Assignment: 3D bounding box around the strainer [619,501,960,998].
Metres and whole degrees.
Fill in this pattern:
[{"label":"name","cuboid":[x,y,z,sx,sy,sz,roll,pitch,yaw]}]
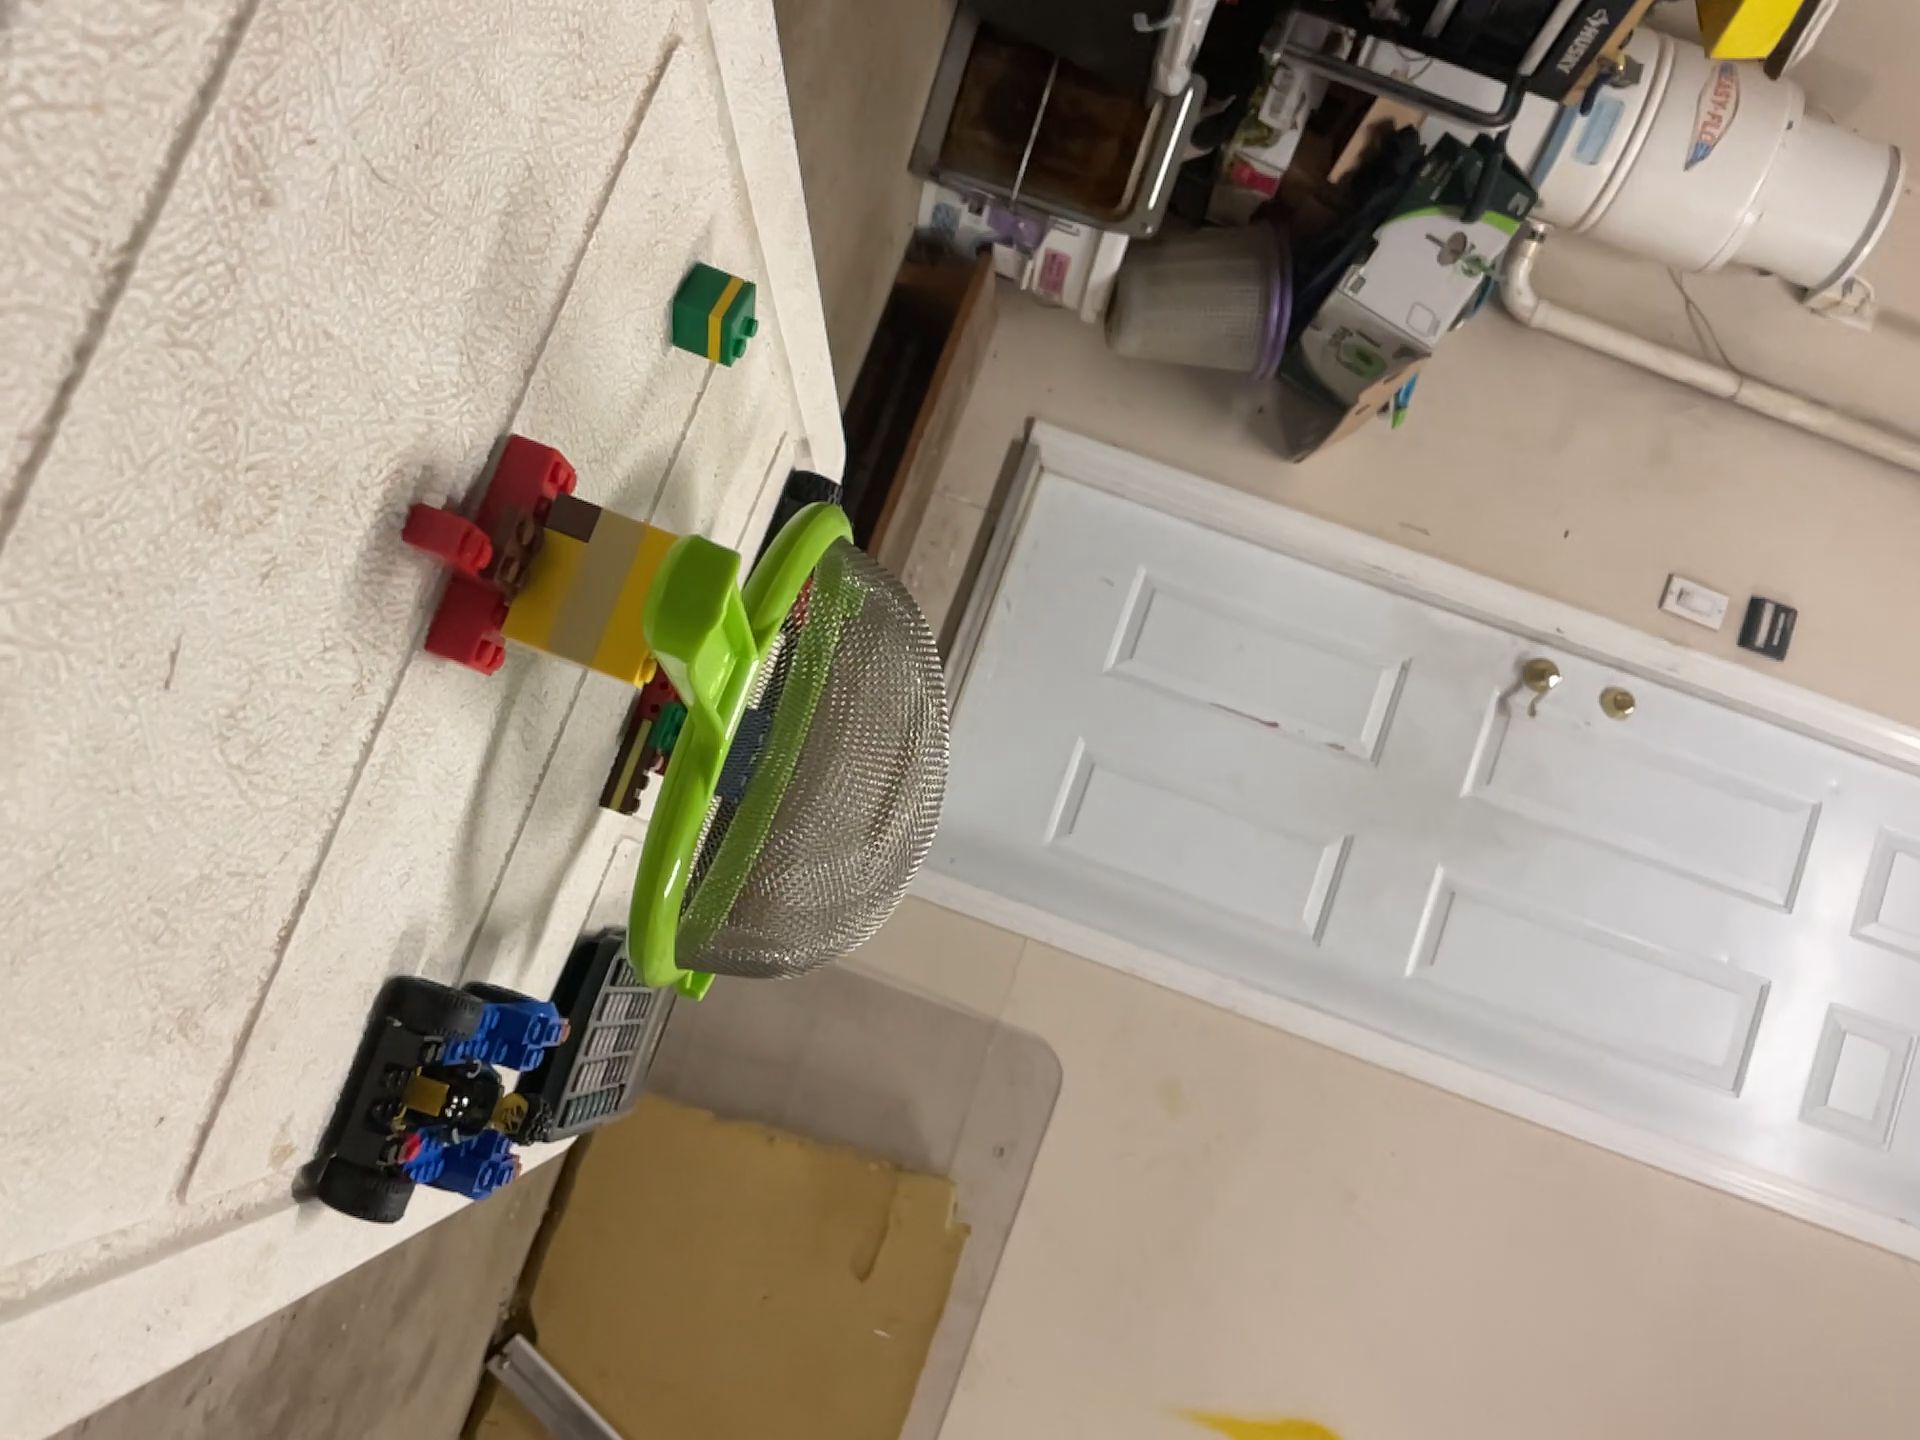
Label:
[{"label":"strainer","cuboid":[-0.036,0.007,0.421,0.256,0.069,0.151,108,3,-79]}]
